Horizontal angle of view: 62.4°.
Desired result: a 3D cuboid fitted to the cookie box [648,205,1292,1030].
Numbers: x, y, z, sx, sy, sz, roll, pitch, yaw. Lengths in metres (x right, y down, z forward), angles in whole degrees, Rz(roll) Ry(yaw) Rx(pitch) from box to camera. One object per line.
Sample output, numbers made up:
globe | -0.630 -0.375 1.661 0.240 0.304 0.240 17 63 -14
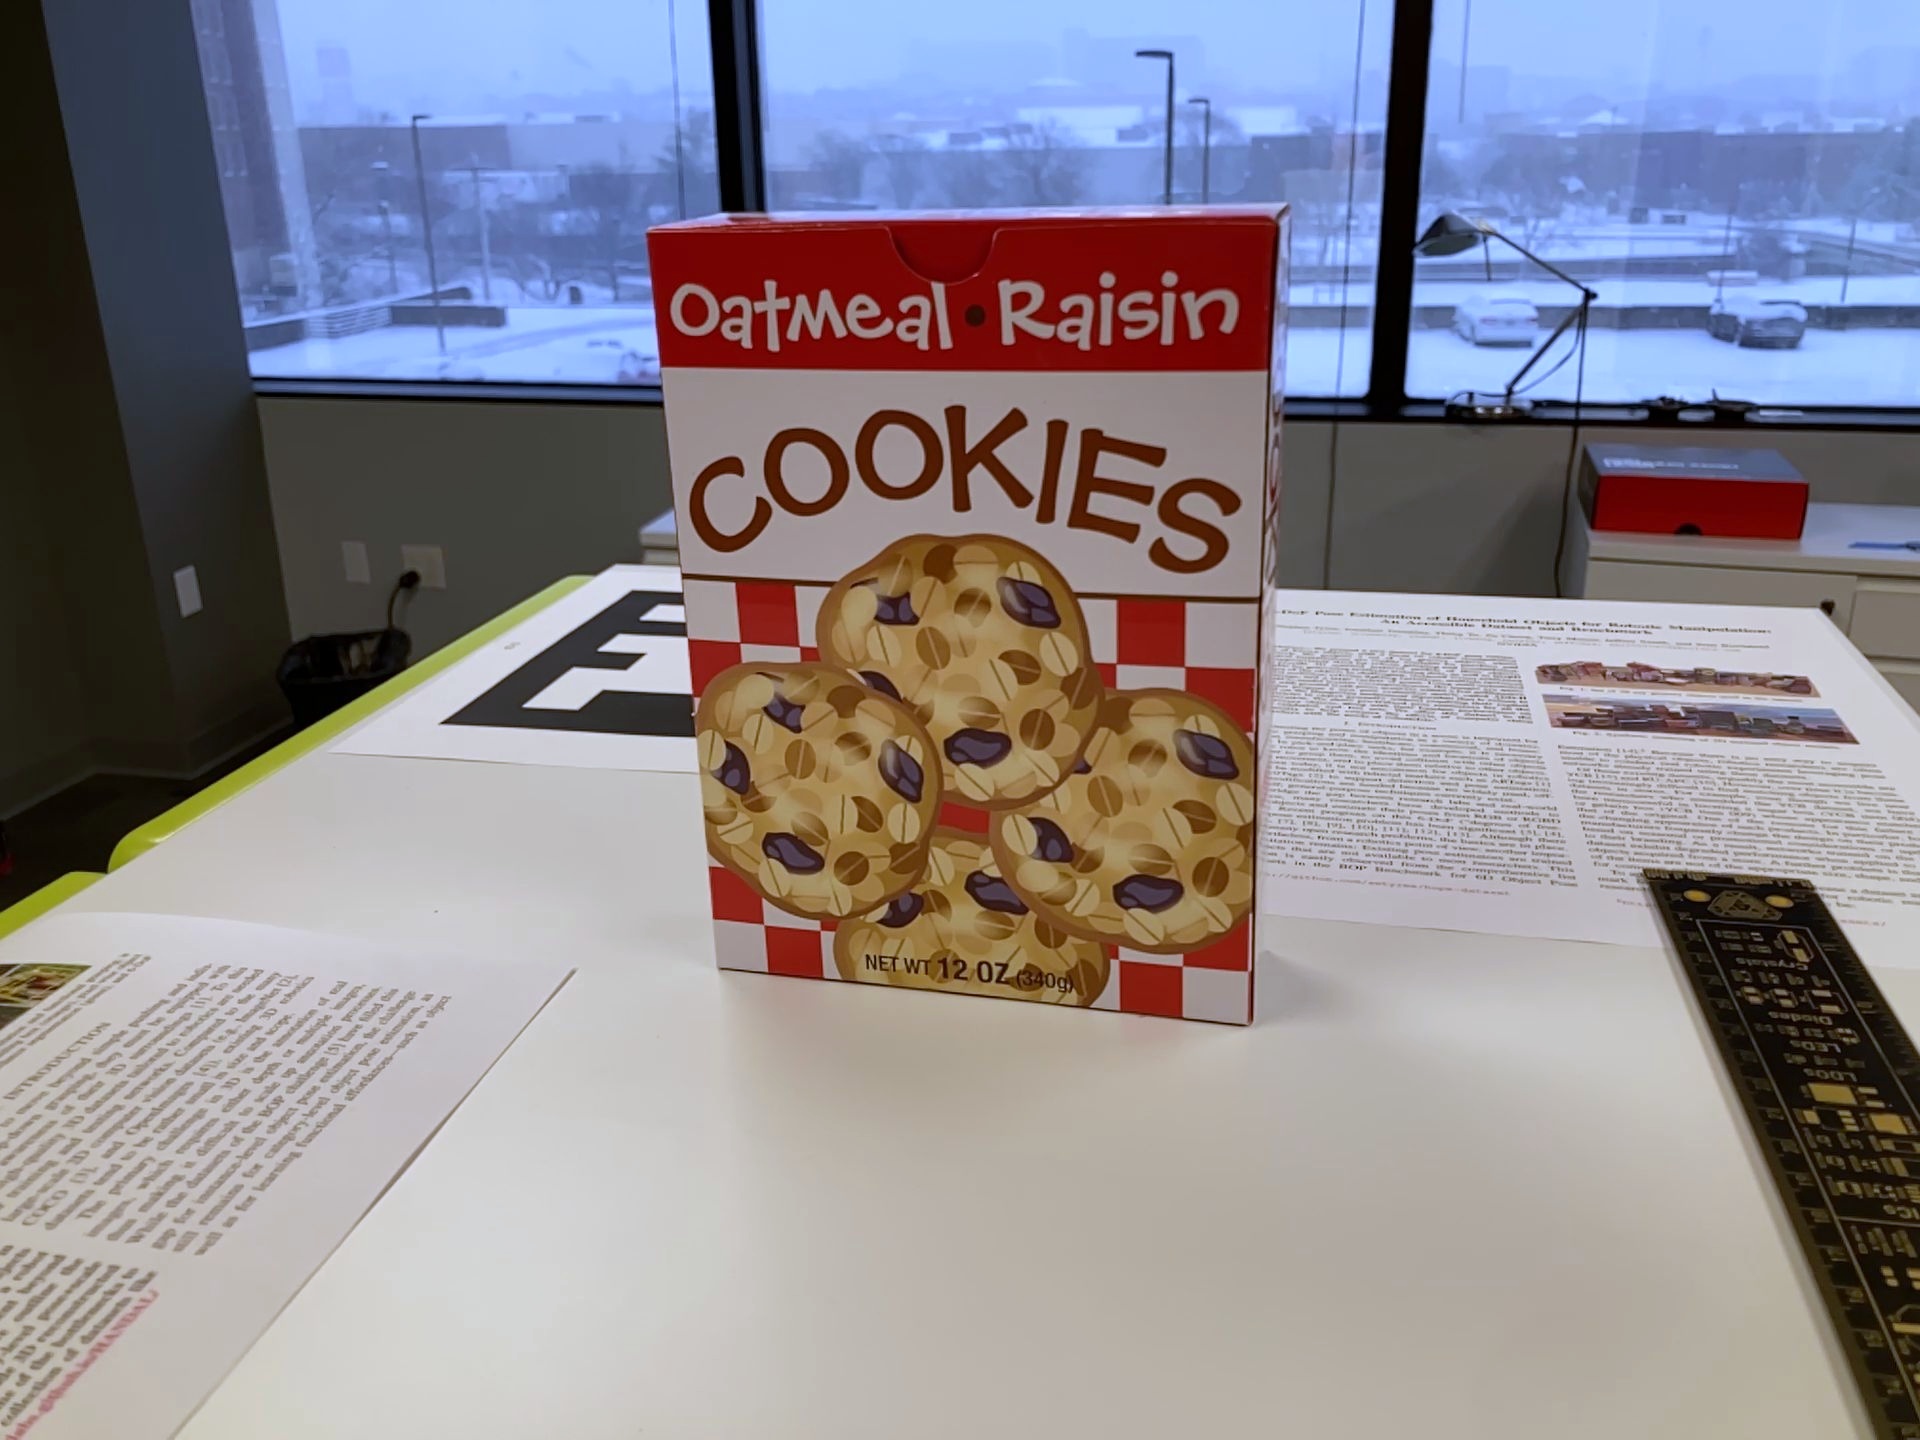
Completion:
cookie box | 0.004 -0.022 0.337 0.123 0.167 0.040 4 20 14
